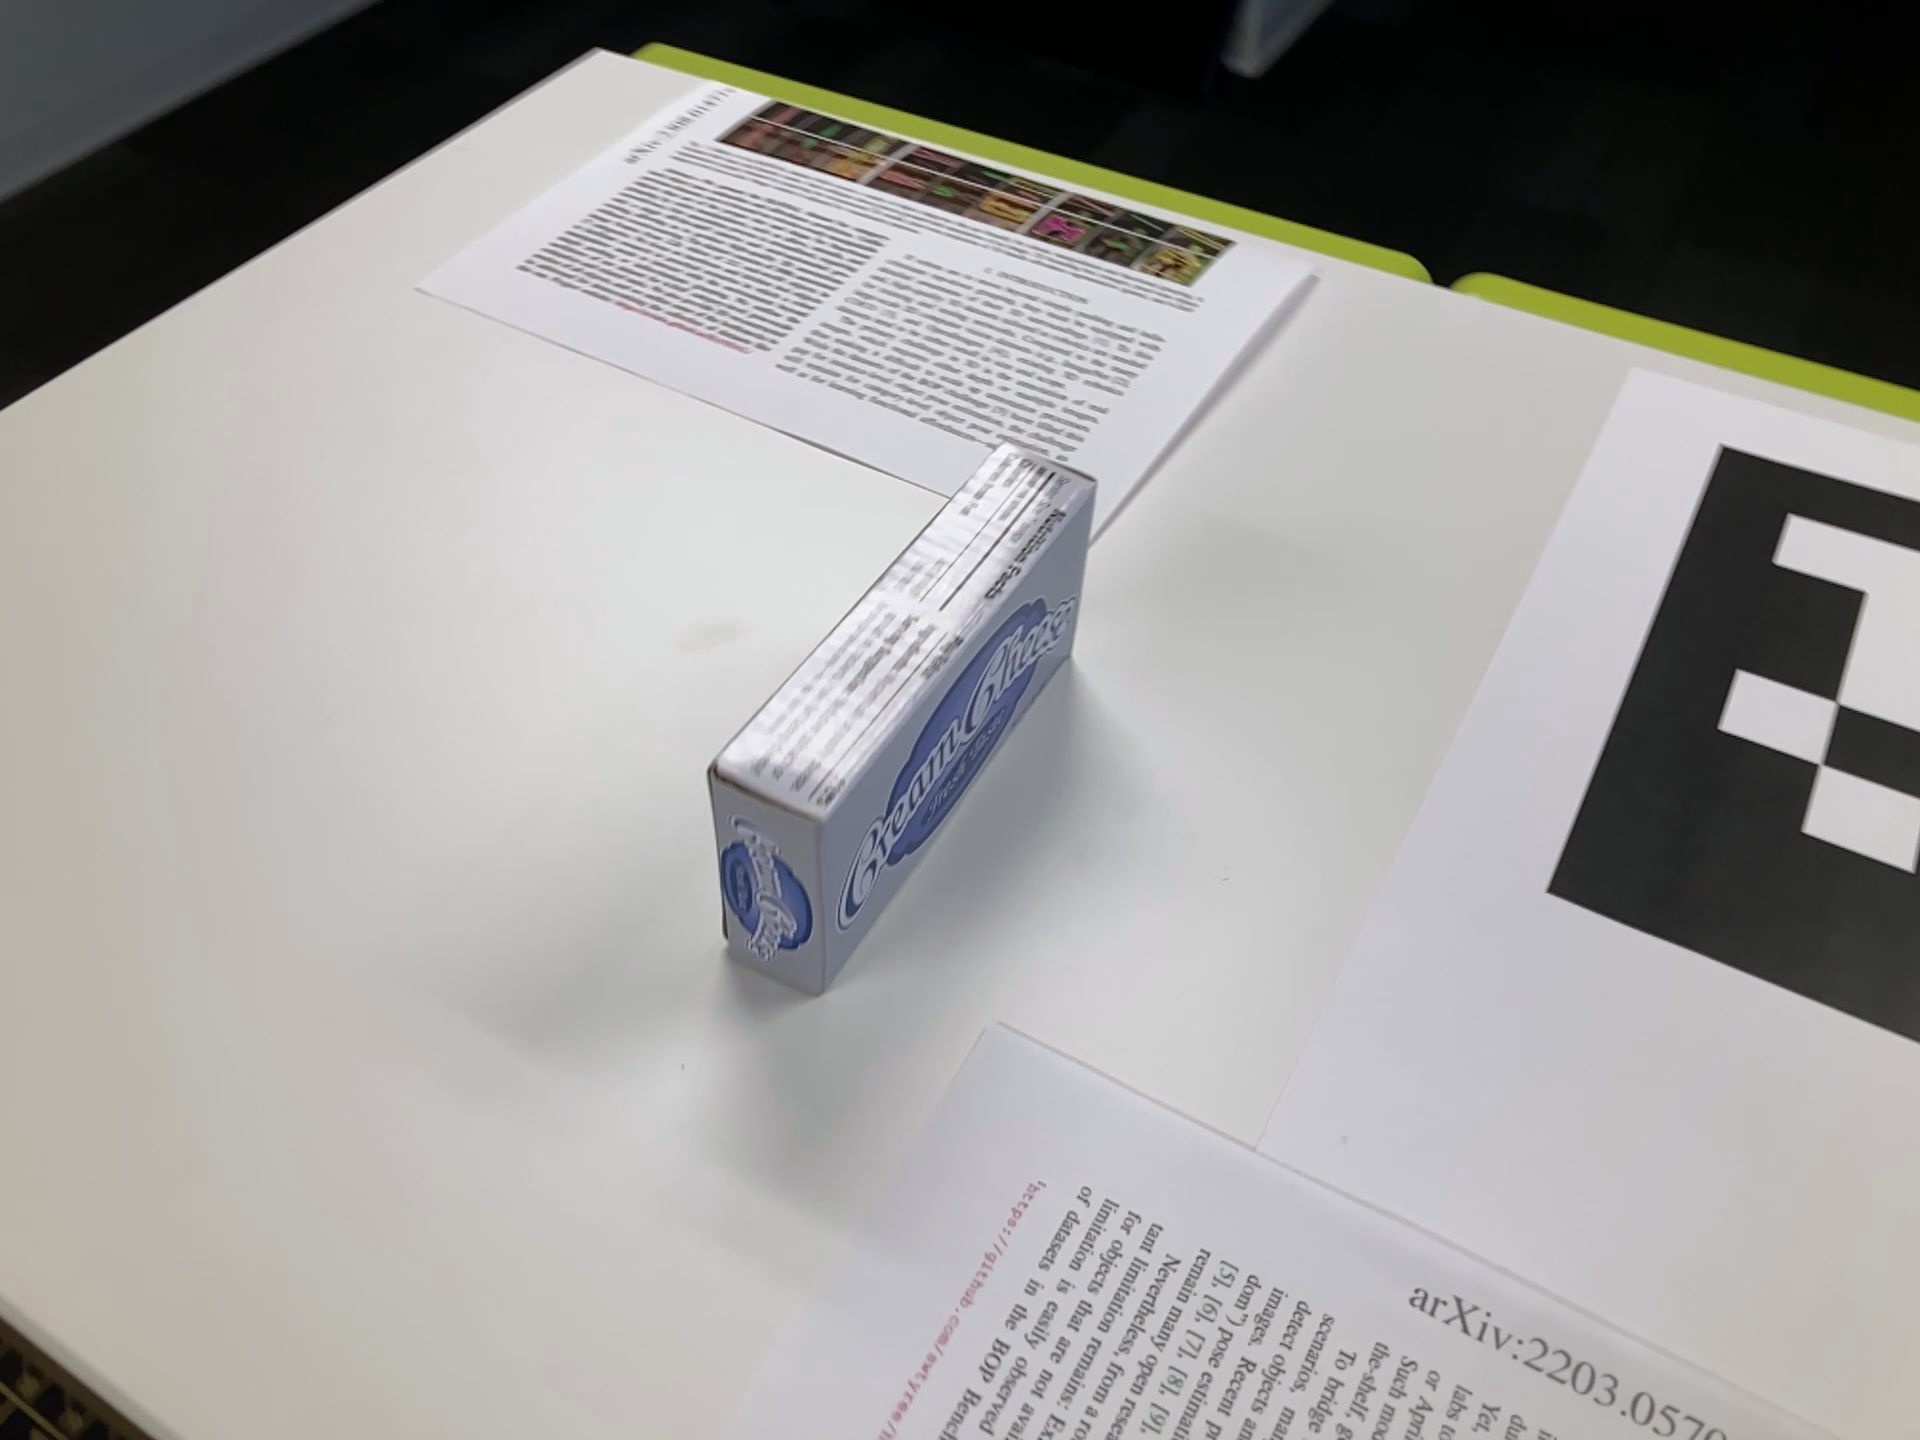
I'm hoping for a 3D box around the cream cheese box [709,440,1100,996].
[{"bbox_3d":[-0.008,-0.003,0.305,0.024,0.053,0.104,24,52,18],"label":"cream cheese box"}]
